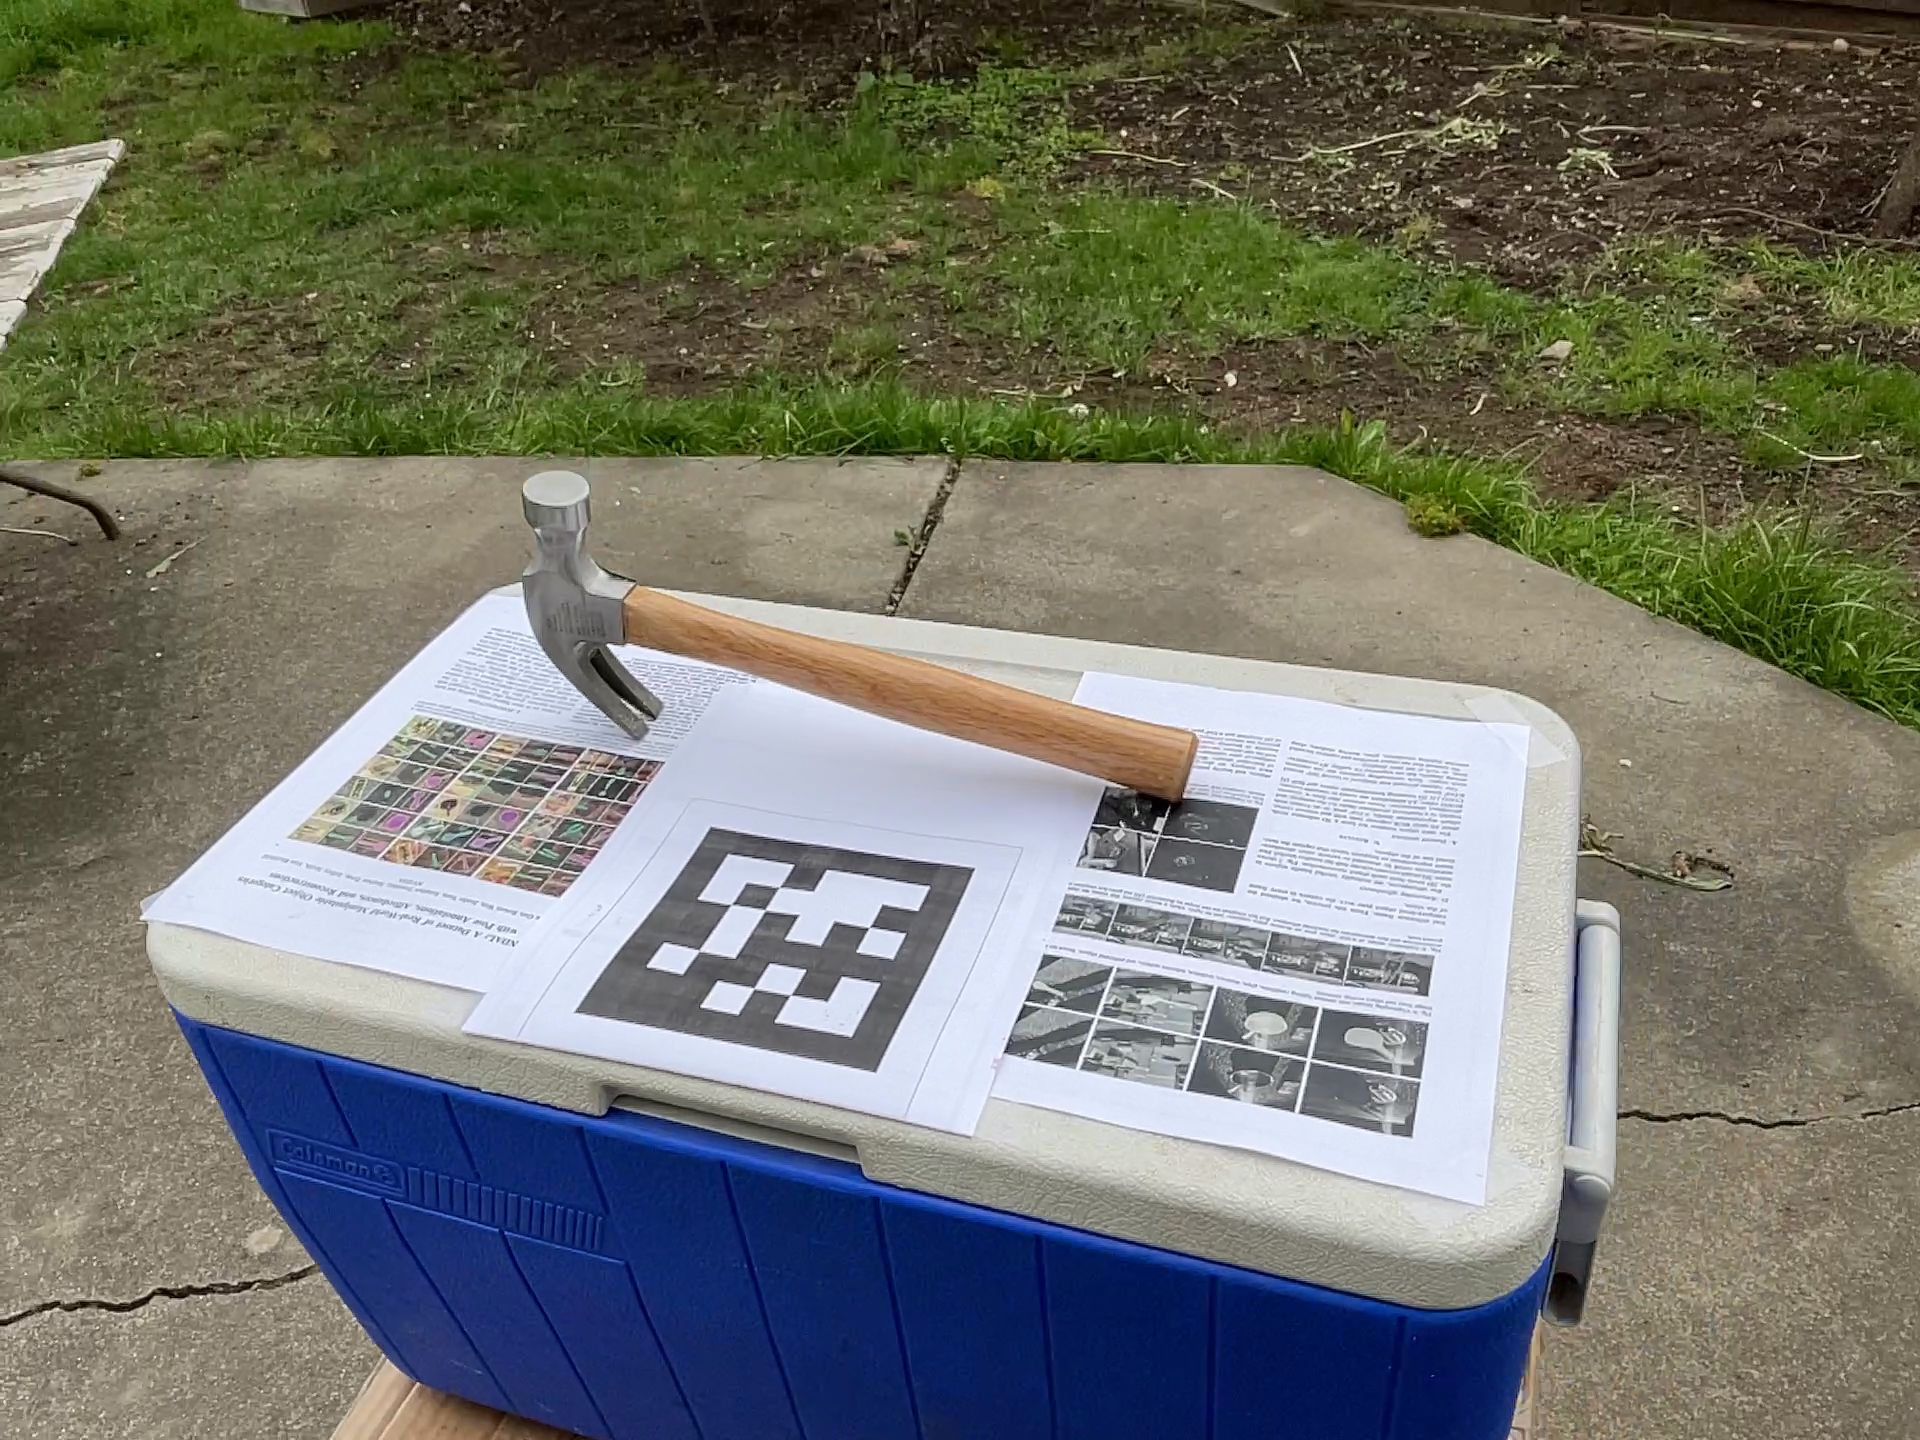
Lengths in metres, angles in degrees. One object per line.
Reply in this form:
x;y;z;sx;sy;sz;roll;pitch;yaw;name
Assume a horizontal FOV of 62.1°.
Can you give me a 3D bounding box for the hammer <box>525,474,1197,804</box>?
-0.053;-0.018;0.761;0.331;0.130;0.031;16;41;10;hammer
